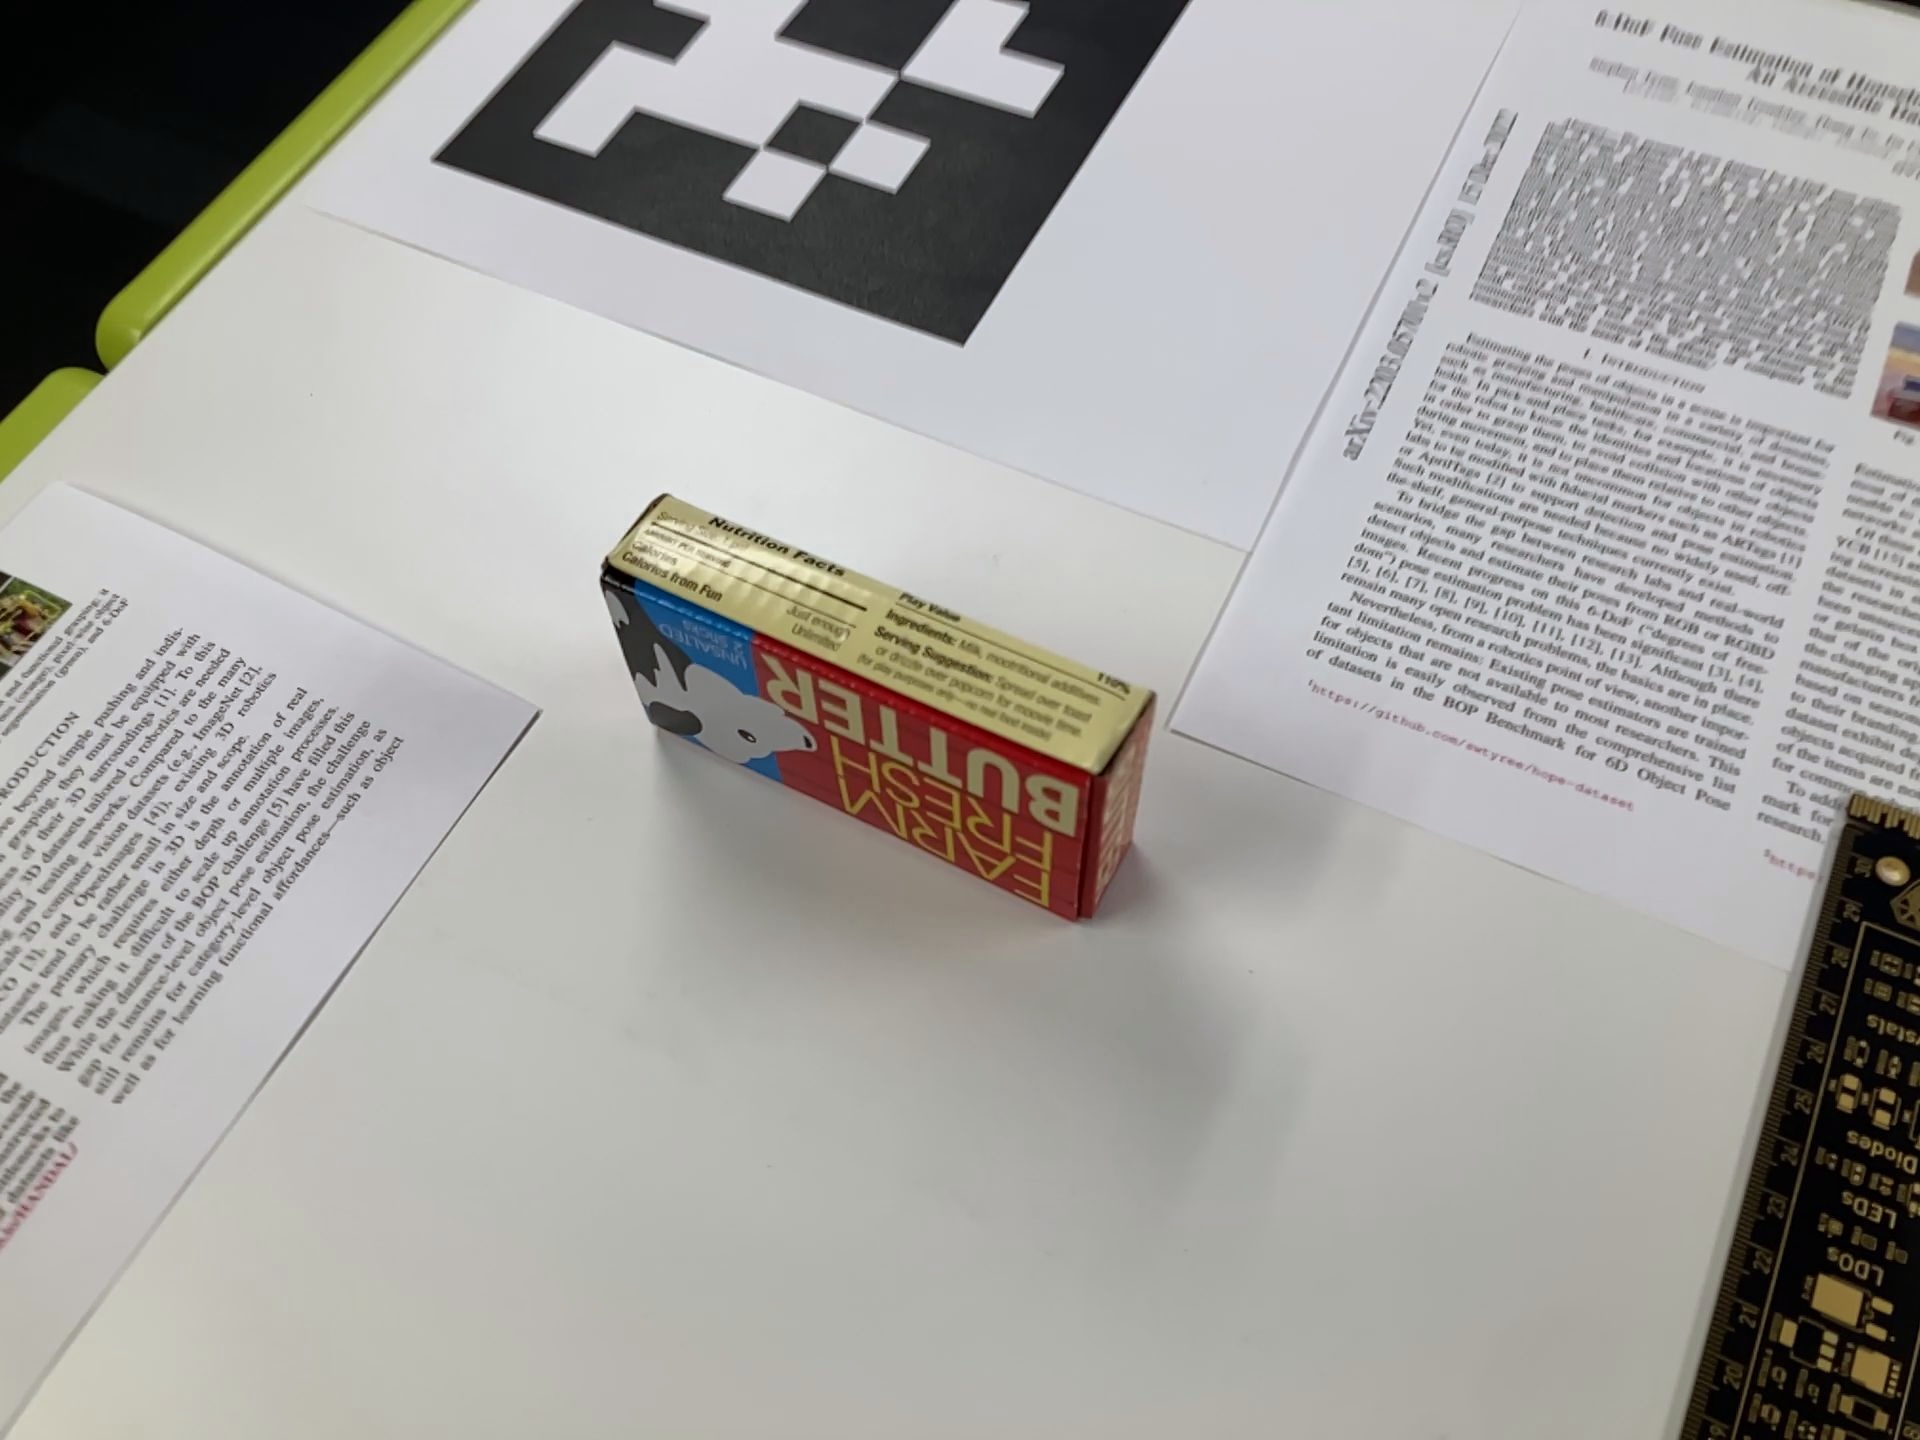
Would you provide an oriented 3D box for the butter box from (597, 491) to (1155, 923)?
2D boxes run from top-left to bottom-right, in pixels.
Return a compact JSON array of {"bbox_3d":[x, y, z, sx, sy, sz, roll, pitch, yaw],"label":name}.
[{"bbox_3d":[-0.016,-0.002,0.298,0.103,0.053,0.024,23,61,15],"label":"butter box"}]
